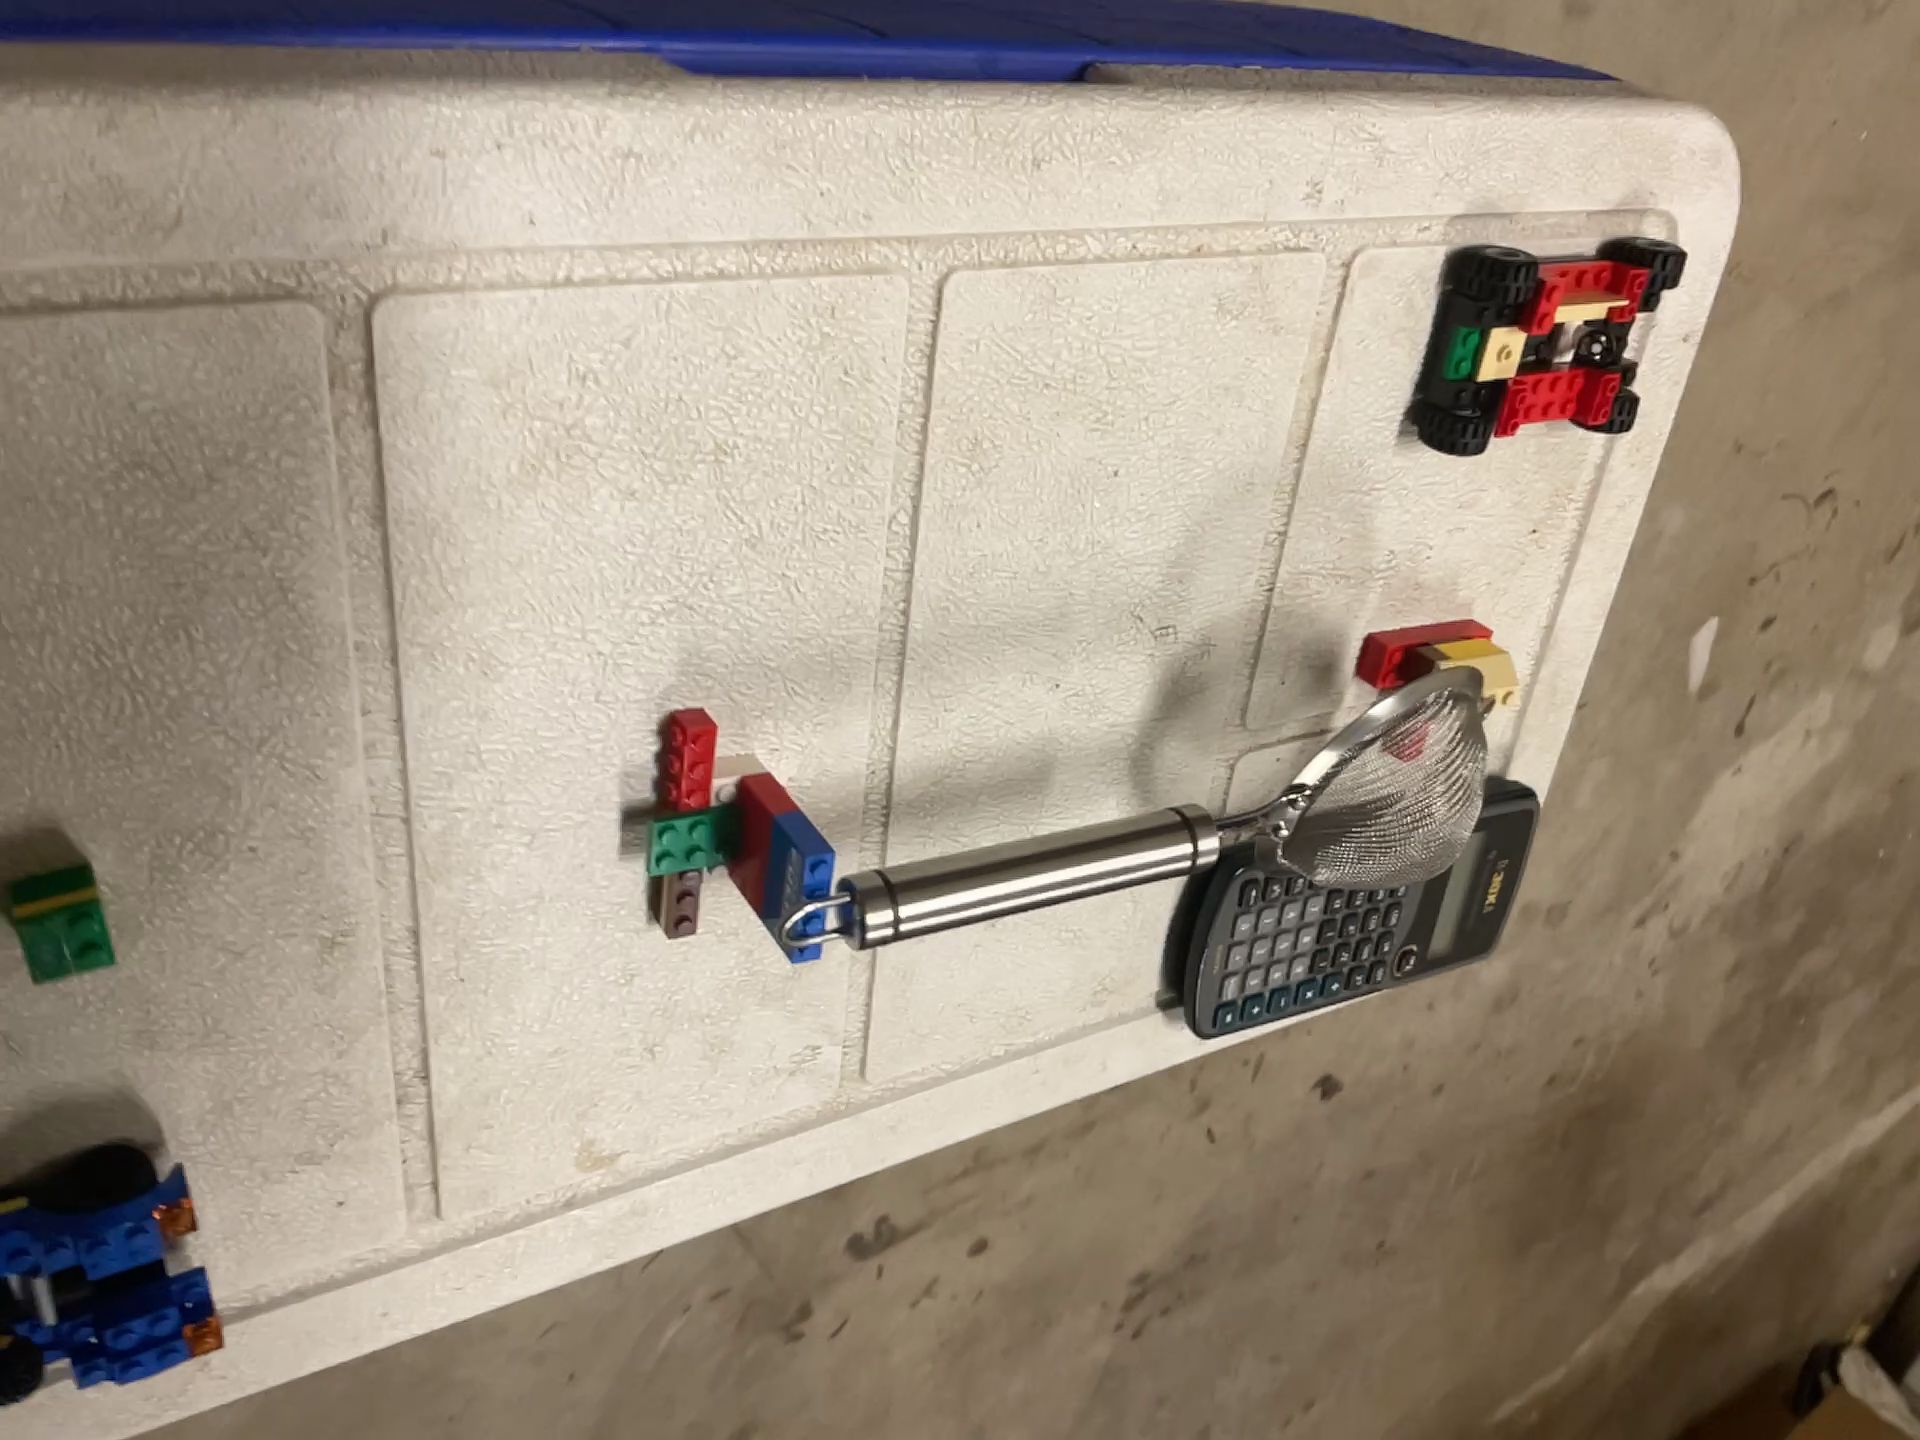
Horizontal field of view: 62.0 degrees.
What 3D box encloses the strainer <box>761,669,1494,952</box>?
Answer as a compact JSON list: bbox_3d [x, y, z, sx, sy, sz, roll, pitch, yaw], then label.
[{"bbox_3d":[0.066,0.033,0.437,0.258,0.050,0.086,-9,140,-28],"label":"strainer"}]
